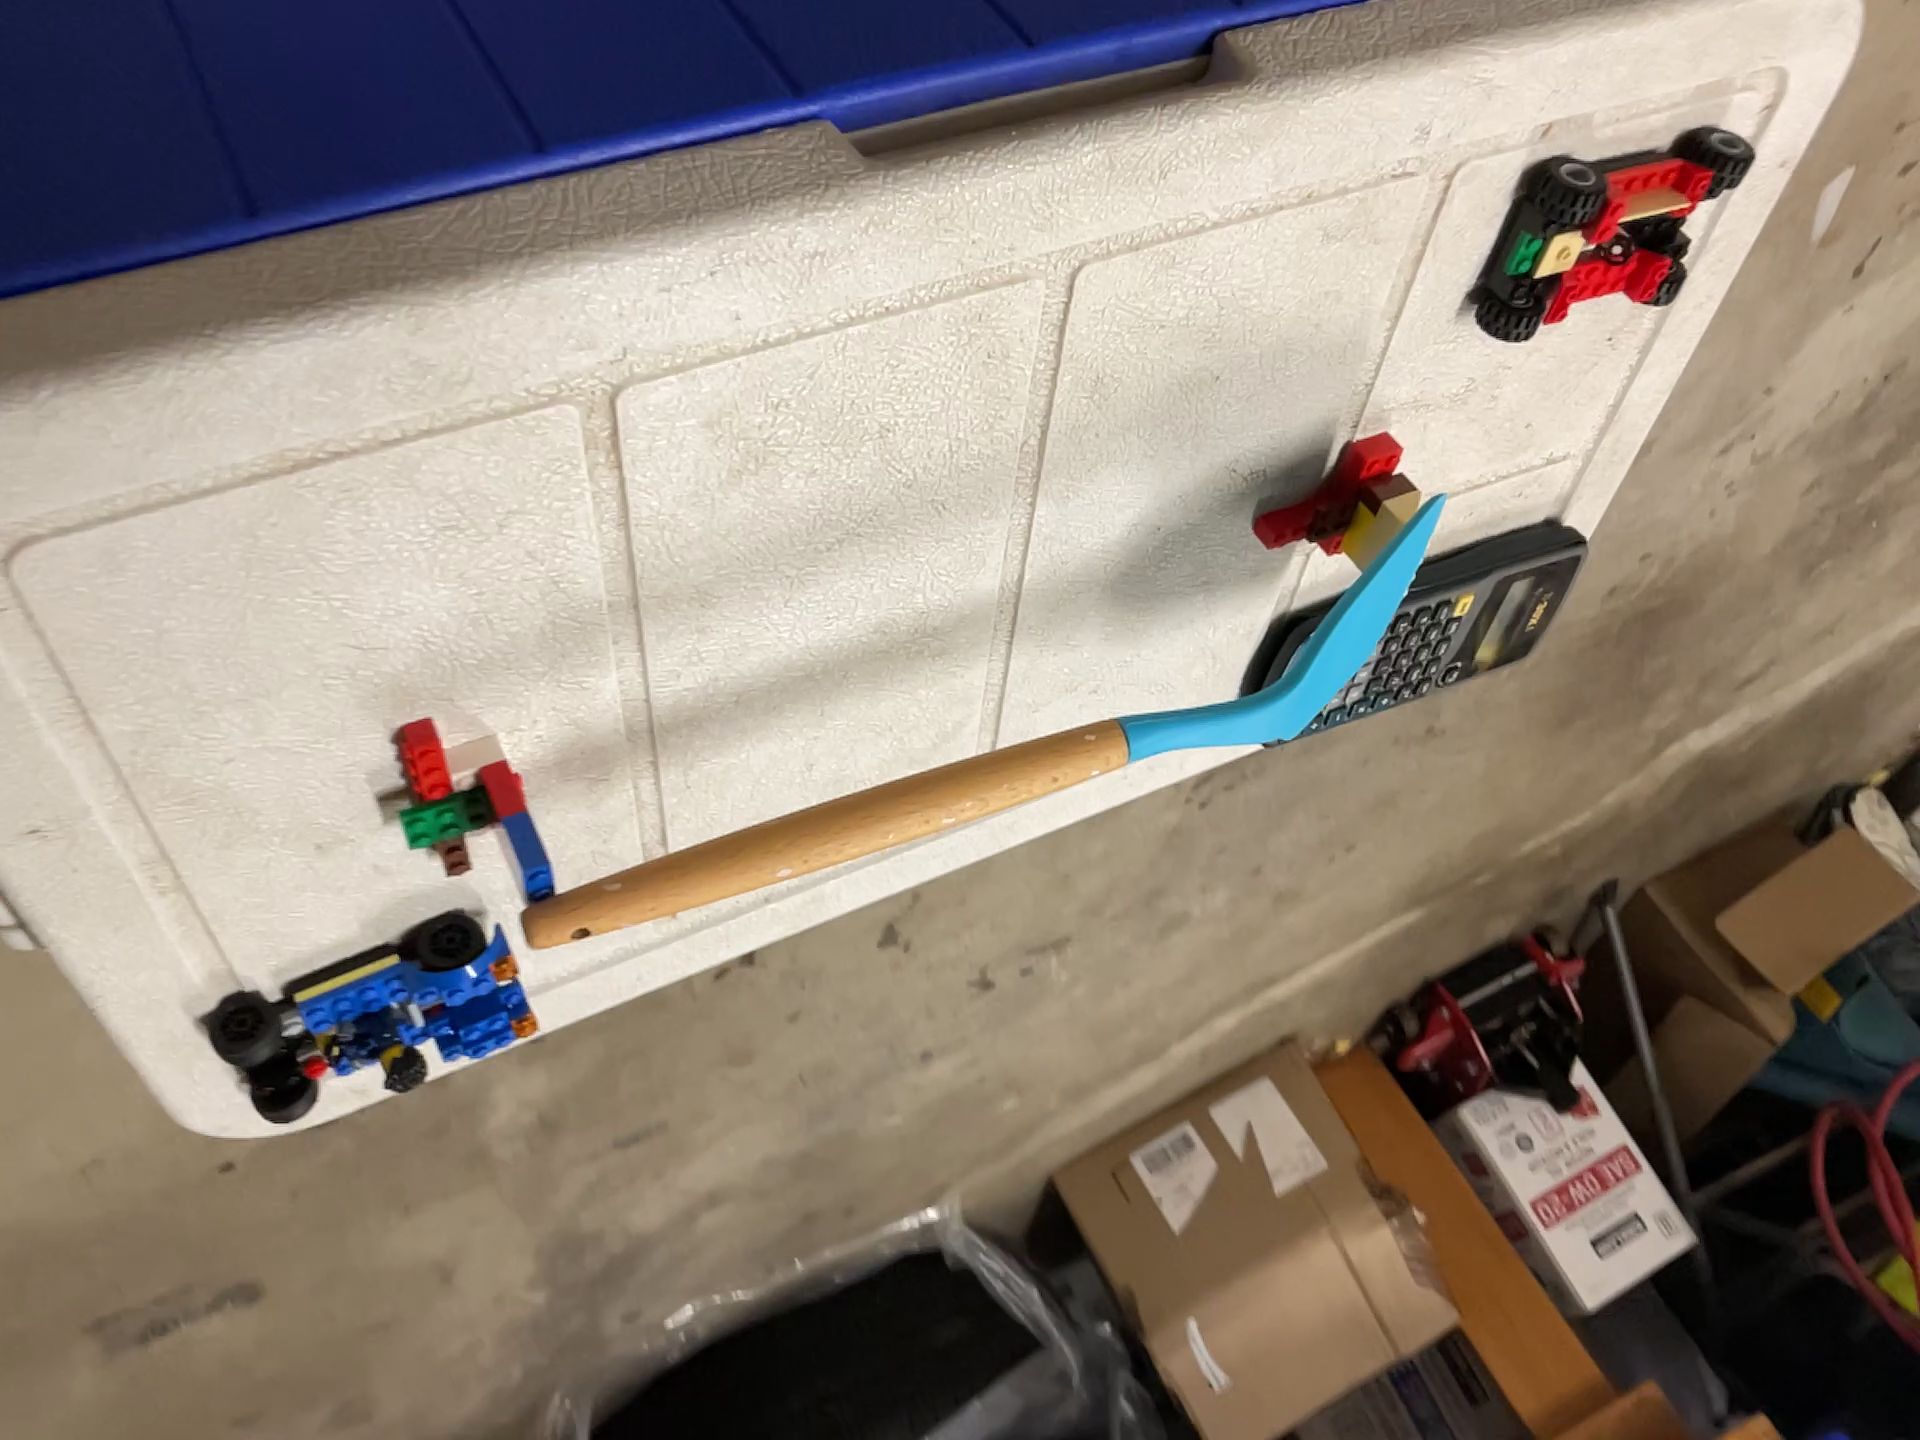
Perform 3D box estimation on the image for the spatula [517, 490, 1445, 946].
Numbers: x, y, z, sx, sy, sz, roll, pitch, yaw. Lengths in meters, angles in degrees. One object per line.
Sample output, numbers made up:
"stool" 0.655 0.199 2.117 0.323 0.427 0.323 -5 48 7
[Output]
"spatula" 0.020 0.006 0.492 0.318 0.044 0.082 -17 147 -18
